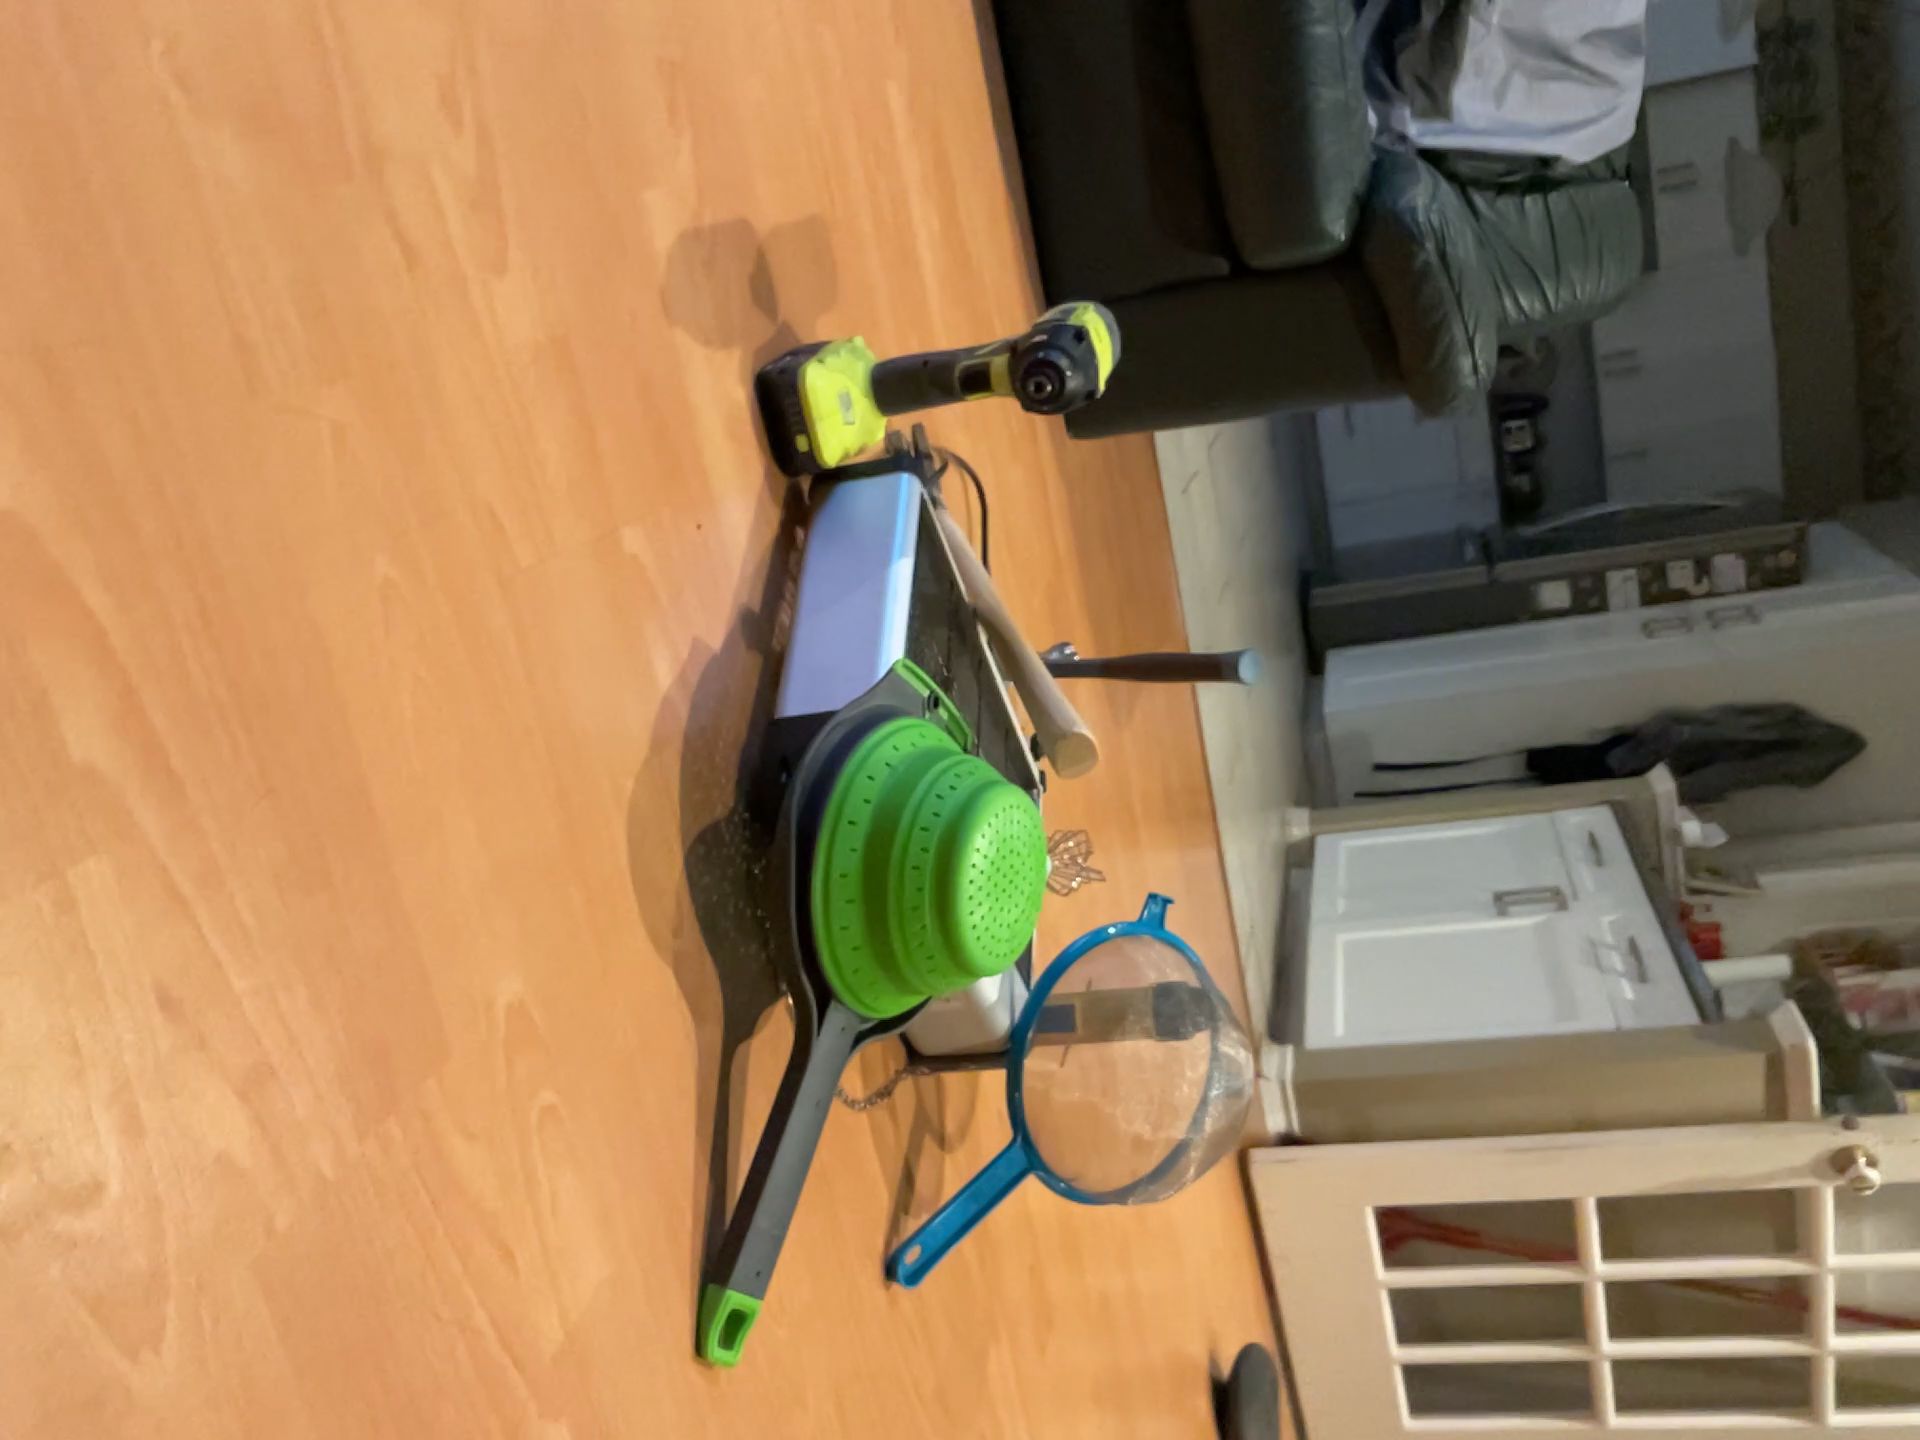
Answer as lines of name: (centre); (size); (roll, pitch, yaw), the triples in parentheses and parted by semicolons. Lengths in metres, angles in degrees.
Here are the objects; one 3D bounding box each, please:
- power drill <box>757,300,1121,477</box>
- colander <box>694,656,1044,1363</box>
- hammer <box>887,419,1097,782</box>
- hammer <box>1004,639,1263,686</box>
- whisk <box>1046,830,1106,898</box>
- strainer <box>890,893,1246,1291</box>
power drill: (-0.012, -0.225, 1.072); (0.171, 0.223, 0.080); (-60, 139, -64)
colander: (-0.039, 0.157, 0.883); (0.204, 0.094, 0.397); (50, 52, -51)
hammer: (0.019, -0.088, 1.180); (0.411, 0.038, 0.146); (-116, -172, -57)
hammer: (0.145, -0.049, 1.439); (0.128, 0.331, 0.033); (-15, 100, -34)
whisk: (0.060, 0.110, 1.205); (0.057, 0.059, 0.246); (-68, 160, 4)
strainer: (0.096, 0.291, 1.137); (0.341, 0.095, 0.210); (-36, 112, -31)
